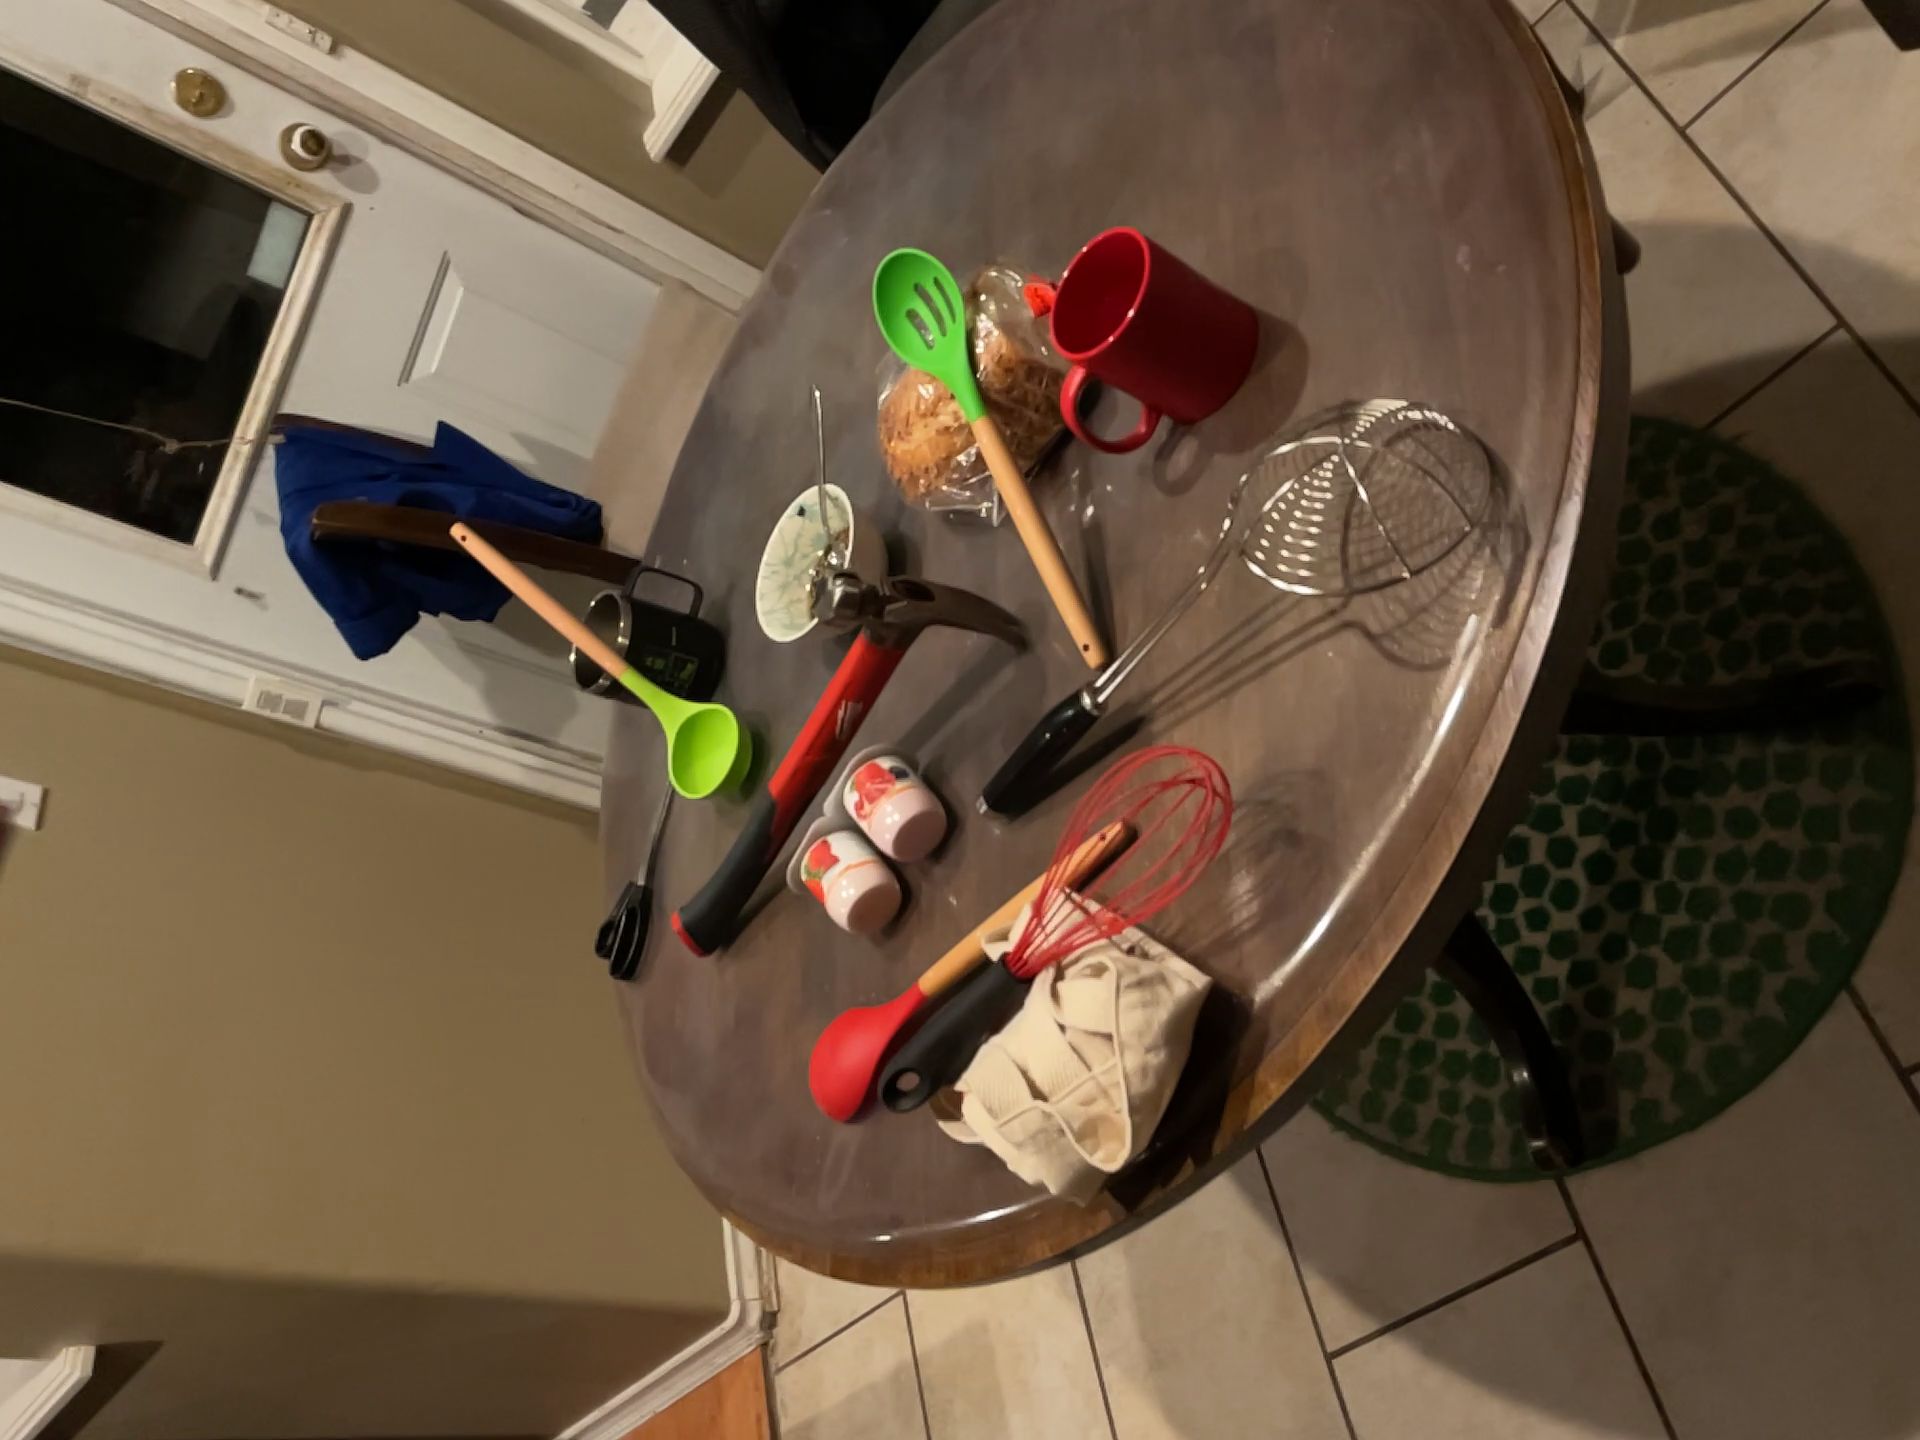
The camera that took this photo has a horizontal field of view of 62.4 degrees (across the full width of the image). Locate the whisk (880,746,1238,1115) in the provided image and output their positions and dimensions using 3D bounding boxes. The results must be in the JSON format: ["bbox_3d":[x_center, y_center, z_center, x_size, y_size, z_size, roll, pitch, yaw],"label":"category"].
[{"bbox_3d":[0.044,0.123,0.855,0.296,0.073,0.073,-50,42,26],"label":"whisk"}]

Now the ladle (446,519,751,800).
[{"bbox_3d":[-0.295,-0.055,1.269,0.078,0.320,0.062,-50,-4,9],"label":"ladle"}]

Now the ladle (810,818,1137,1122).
[{"bbox_3d":[-0.002,0.155,0.983,0.315,0.031,0.069,-43,45,29],"label":"ladle"}]

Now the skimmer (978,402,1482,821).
[{"bbox_3d":[0.134,-0.039,0.894,0.363,0.090,0.127,-50,32,41],"label":"skimmer"}]

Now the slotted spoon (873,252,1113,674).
[{"bbox_3d":[0.024,-0.166,1.009,0.070,0.031,0.314,-40,68,41],"label":"slotted spoon"}]

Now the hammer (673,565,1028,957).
[{"bbox_3d":[-0.100,0.047,1.117,0.386,0.143,0.038,-55,36,38],"label":"hammer"}]
